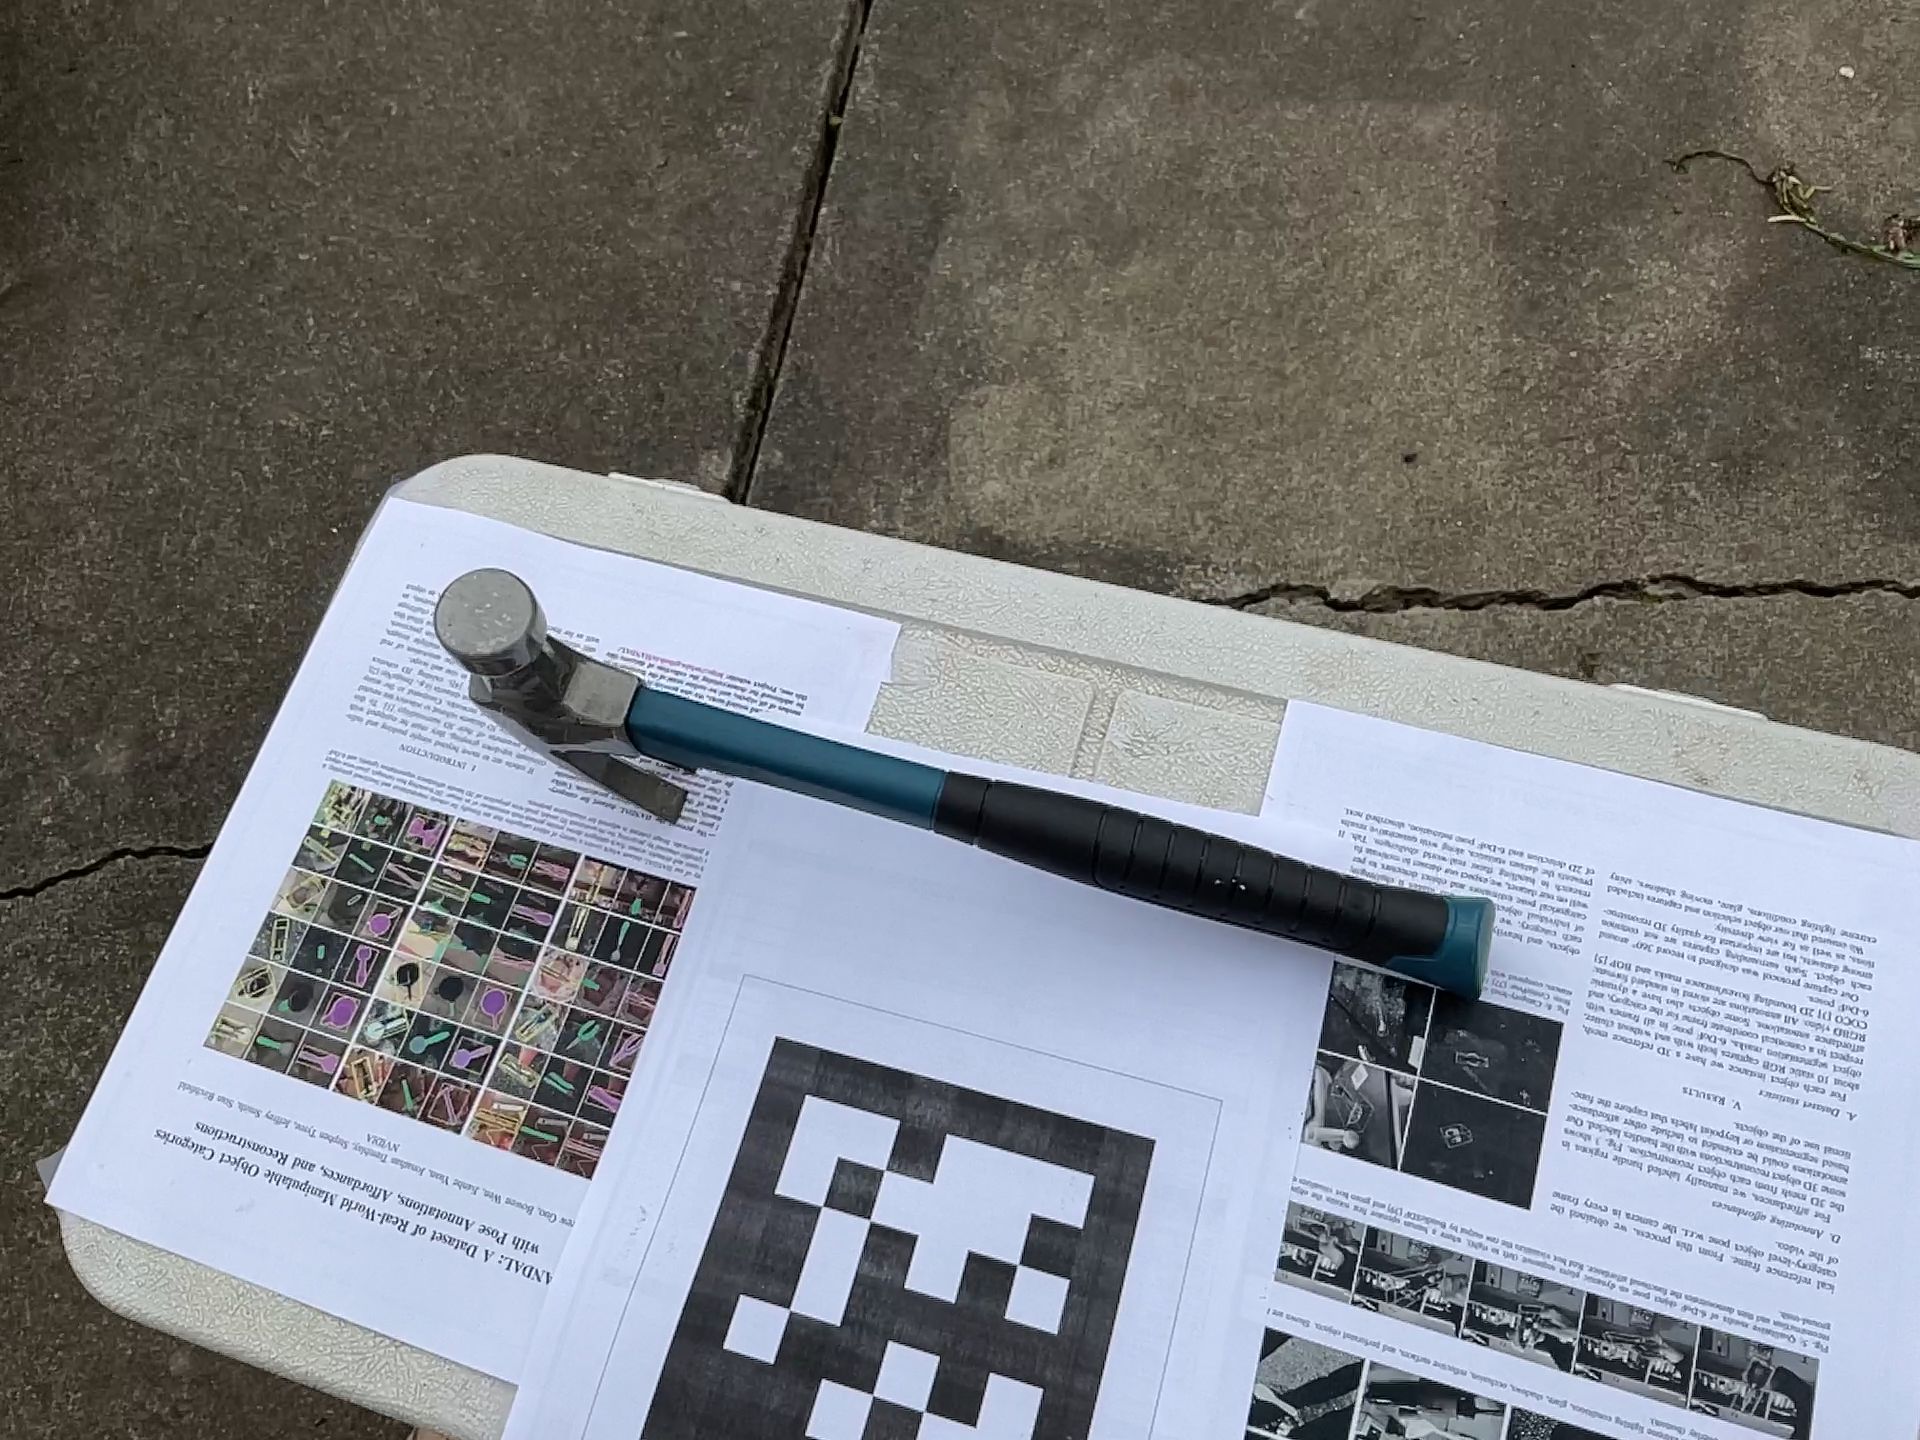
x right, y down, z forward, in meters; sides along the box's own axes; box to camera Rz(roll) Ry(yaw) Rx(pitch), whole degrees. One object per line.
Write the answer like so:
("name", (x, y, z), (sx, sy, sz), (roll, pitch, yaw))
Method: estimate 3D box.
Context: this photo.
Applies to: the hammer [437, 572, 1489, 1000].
("hammer", (0.007, 0.030, 0.509), (0.331, 0.128, 0.033), (15, 72, 4))
